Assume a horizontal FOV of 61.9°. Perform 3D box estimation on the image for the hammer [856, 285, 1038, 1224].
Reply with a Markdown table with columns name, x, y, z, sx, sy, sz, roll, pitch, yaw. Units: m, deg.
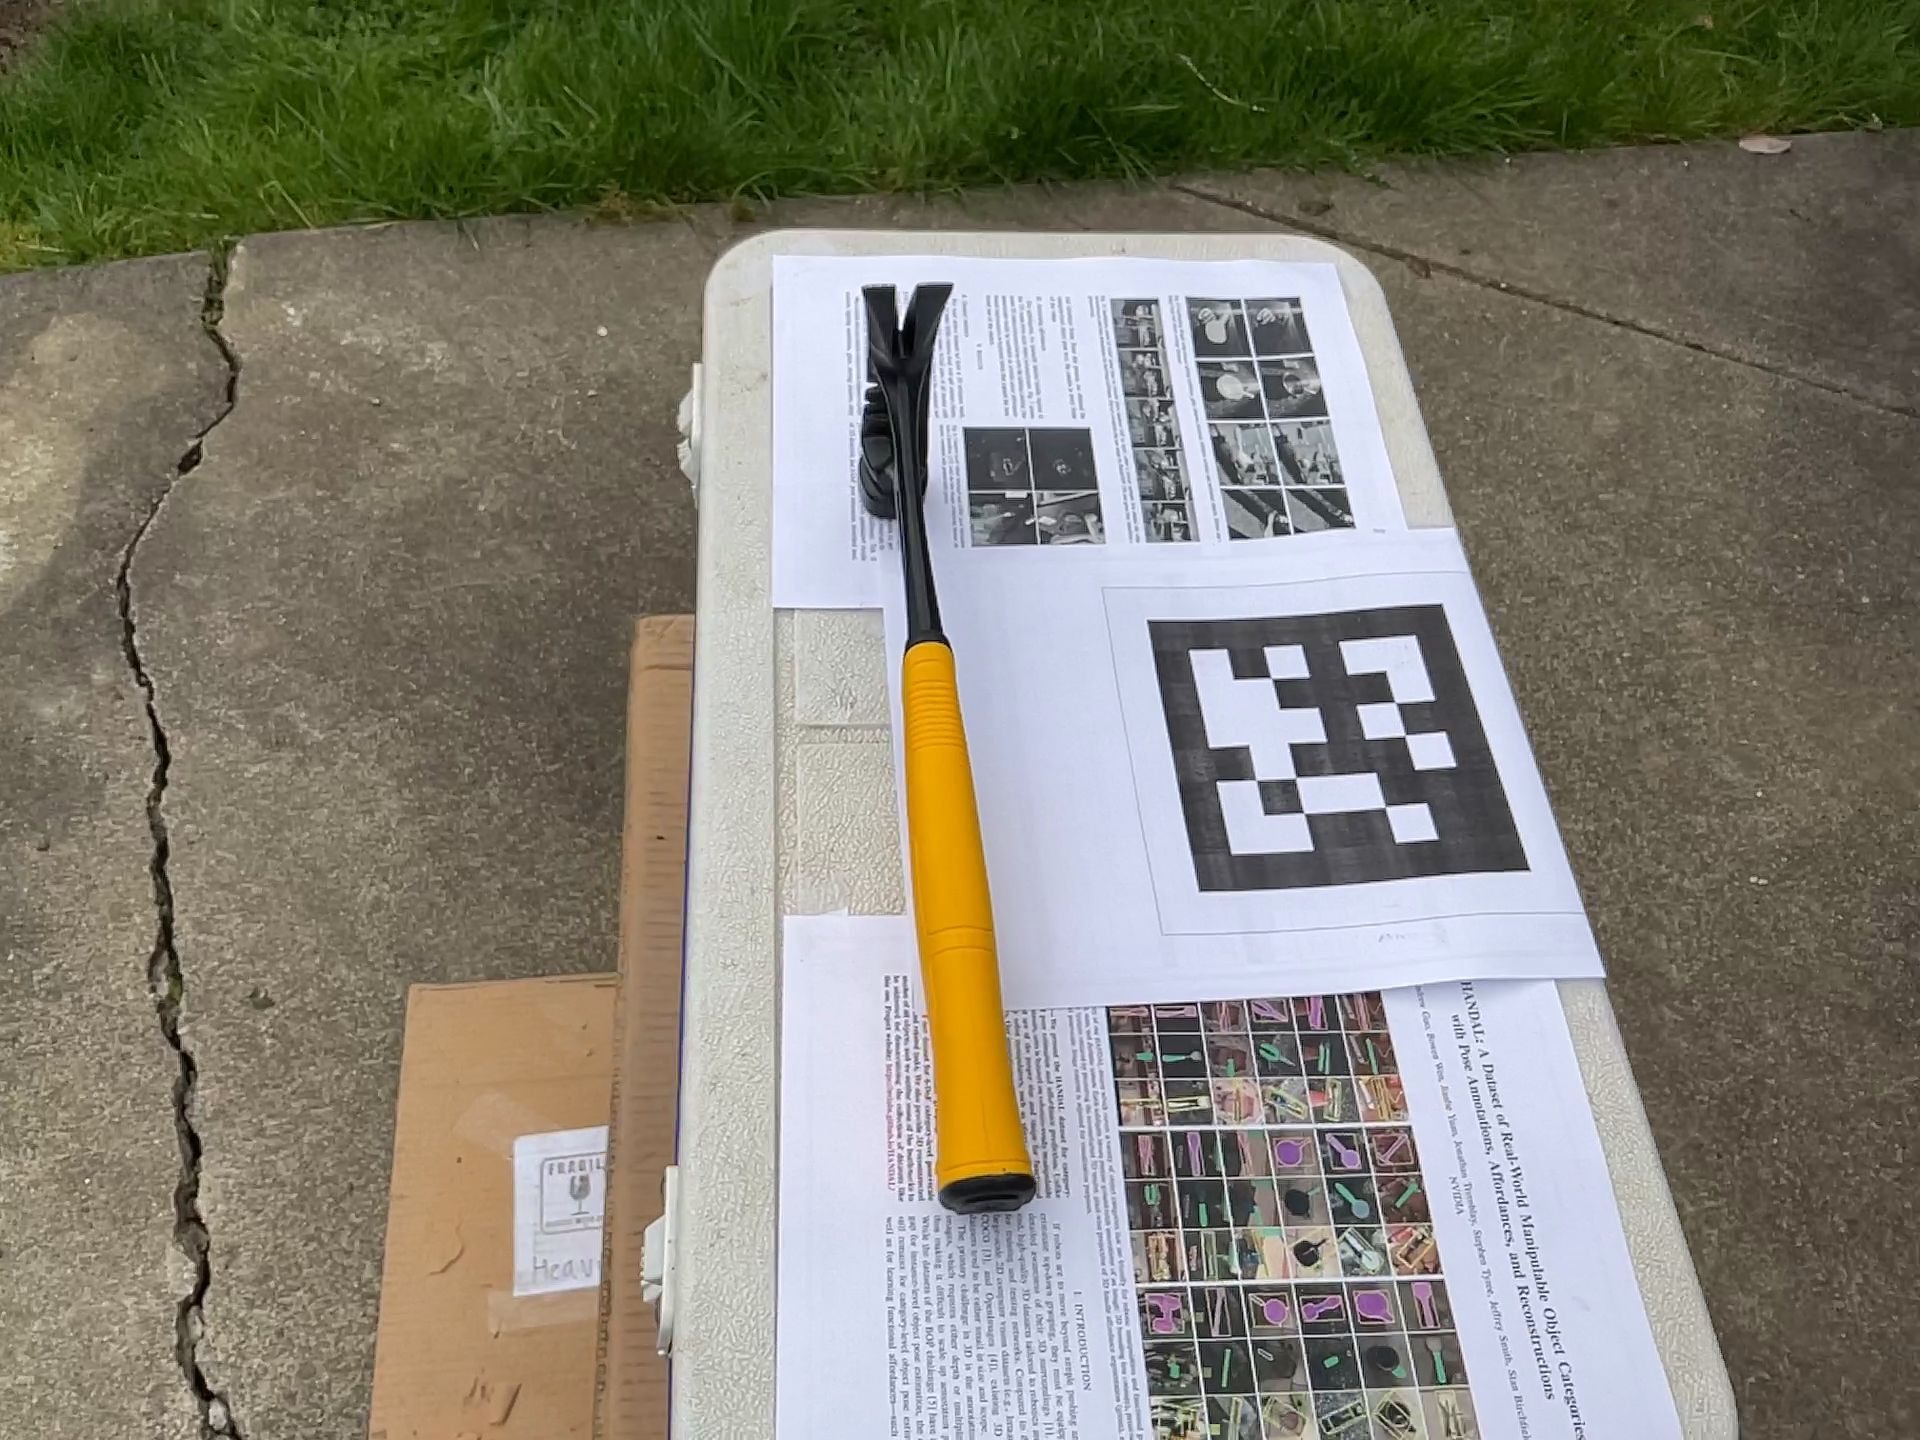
| name | x | y | z | sx | sy | sz | roll | pitch | yaw |
| --- | --- | --- | --- | --- | --- | --- | --- | --- | --- |
| hammer | -0.008 | 0.005 | 0.575 | 0.034 | 0.127 | 0.337 | -3 | 62 | -7 |
